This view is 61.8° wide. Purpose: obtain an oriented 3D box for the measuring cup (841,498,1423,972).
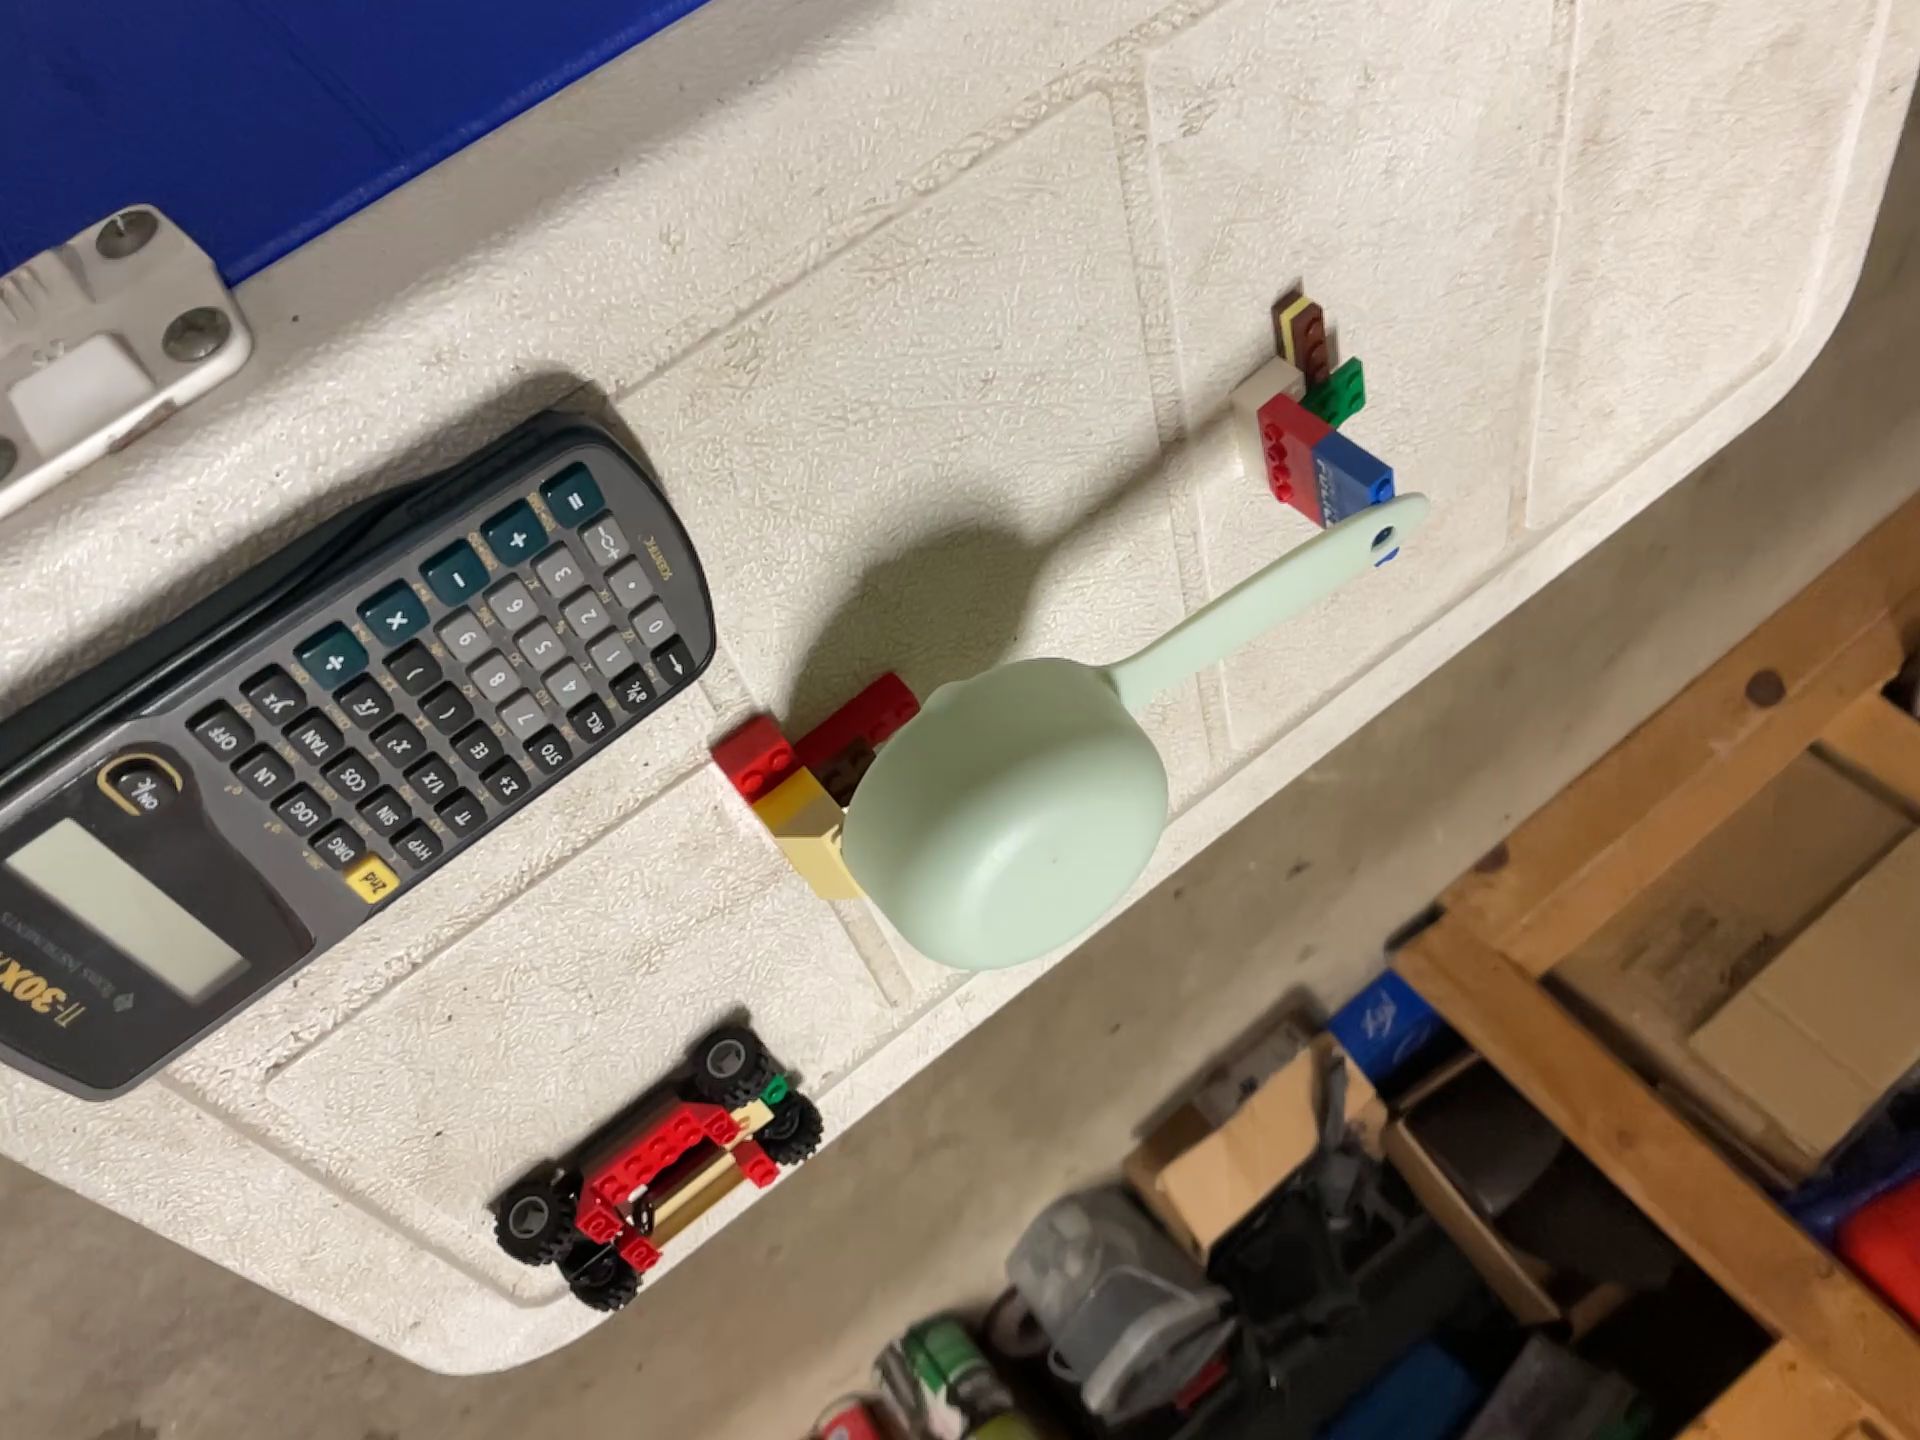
[{"bbox_3d":[0.052,0.001,0.381,0.167,0.038,0.083,-33,145,-6],"label":"measuring cup"}]
